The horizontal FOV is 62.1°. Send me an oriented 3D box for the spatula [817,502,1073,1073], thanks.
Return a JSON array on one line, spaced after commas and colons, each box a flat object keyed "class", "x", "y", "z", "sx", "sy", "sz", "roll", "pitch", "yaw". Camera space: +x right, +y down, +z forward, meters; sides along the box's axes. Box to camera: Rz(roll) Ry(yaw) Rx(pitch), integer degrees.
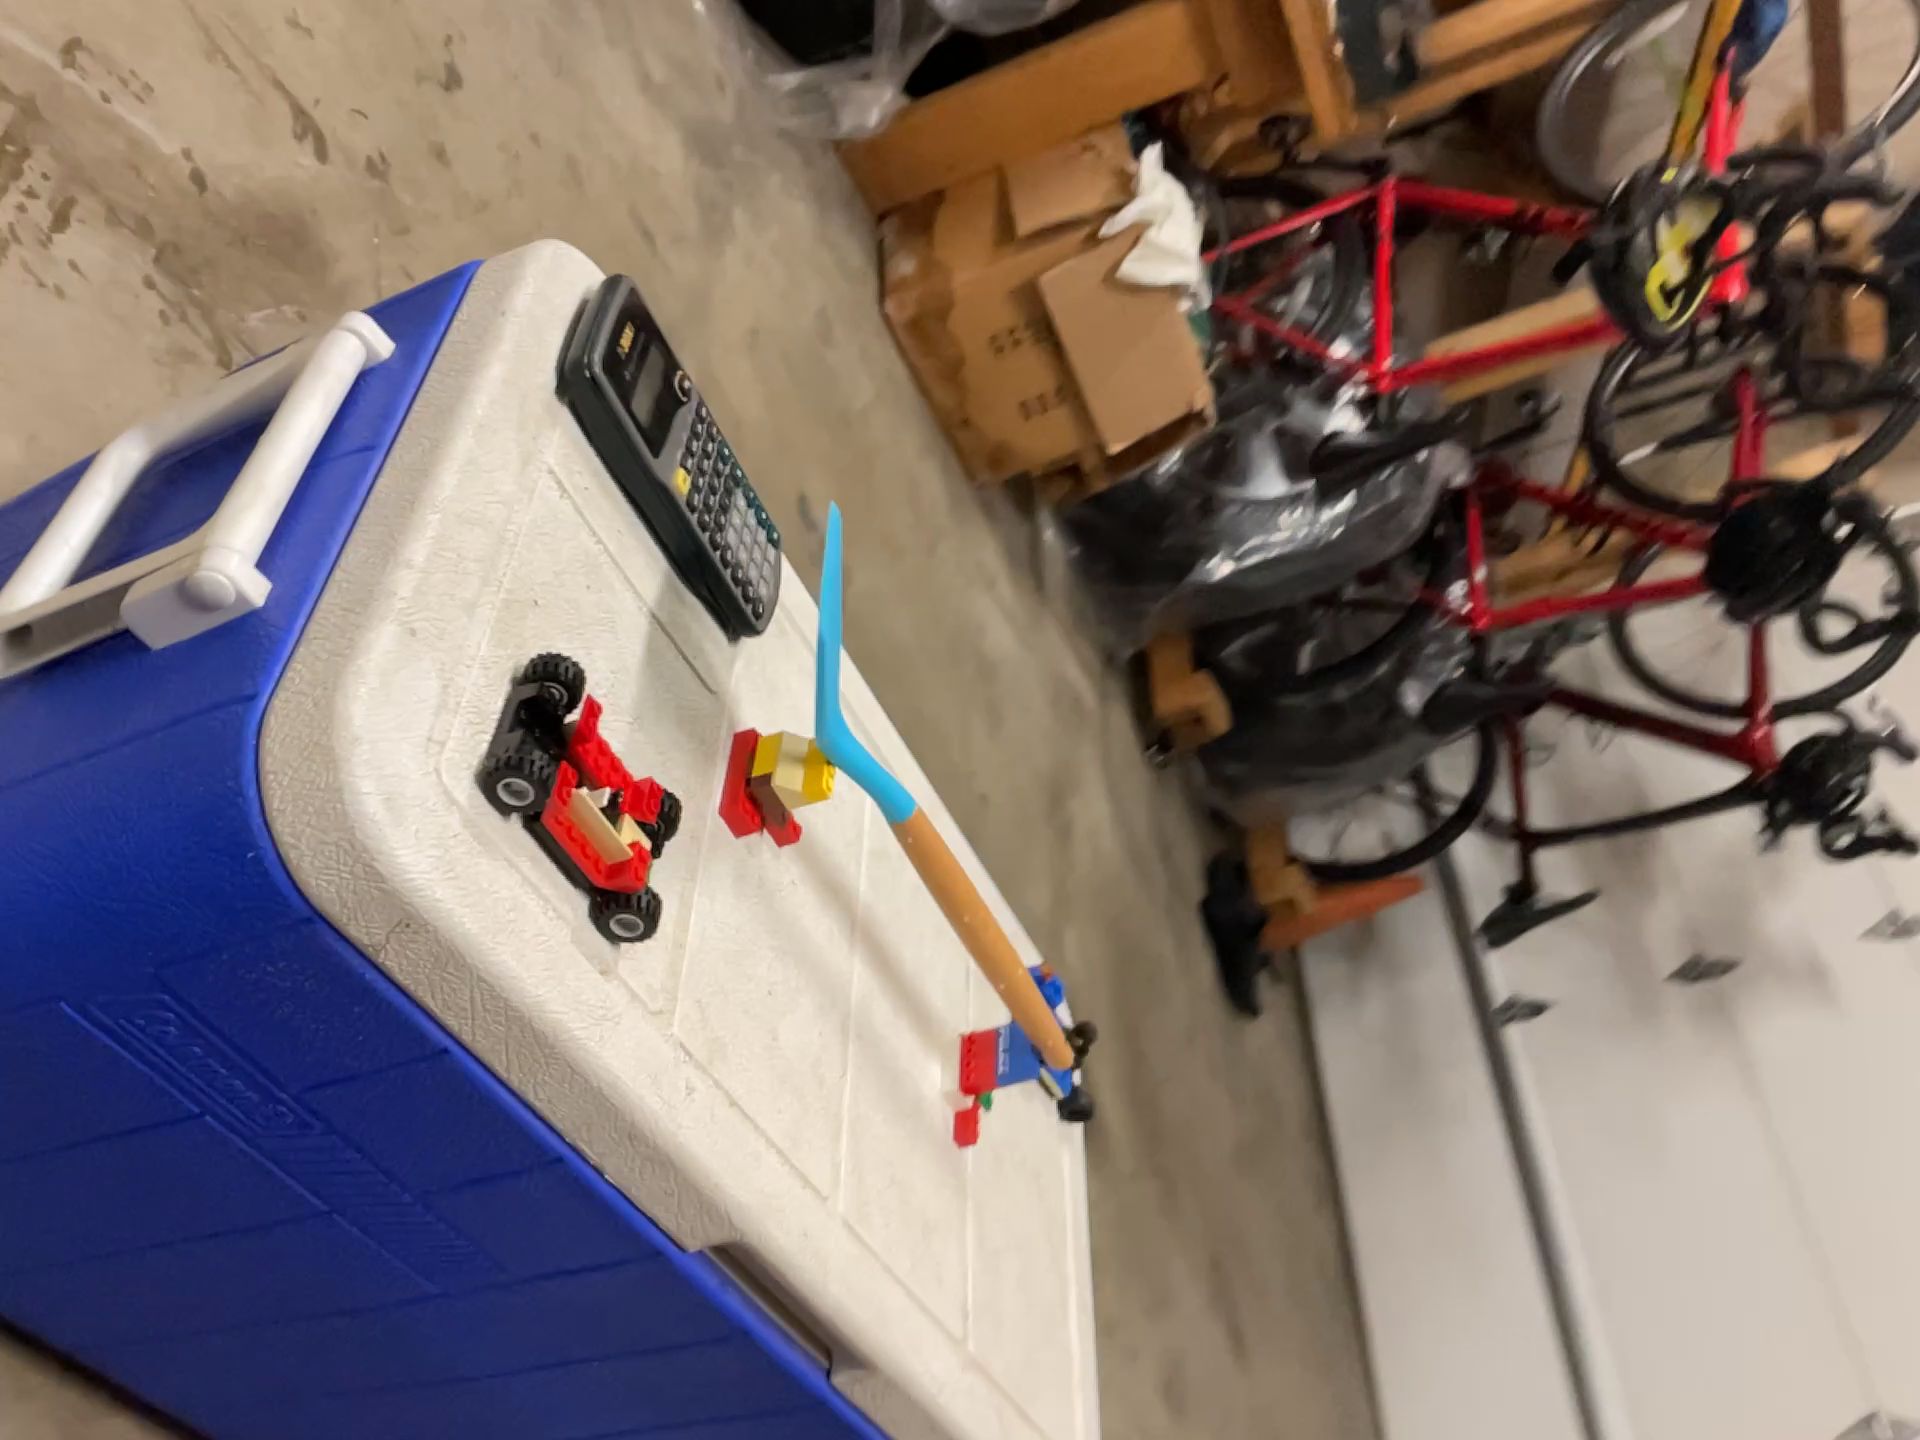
[{"class": "spatula", "x": -0.005, "y": 0.055, "z": 0.682, "sx": 0.083, "sy": 0.044, "sz": 0.317, "roll": -91, "pitch": 157, "yaw": -50}]
